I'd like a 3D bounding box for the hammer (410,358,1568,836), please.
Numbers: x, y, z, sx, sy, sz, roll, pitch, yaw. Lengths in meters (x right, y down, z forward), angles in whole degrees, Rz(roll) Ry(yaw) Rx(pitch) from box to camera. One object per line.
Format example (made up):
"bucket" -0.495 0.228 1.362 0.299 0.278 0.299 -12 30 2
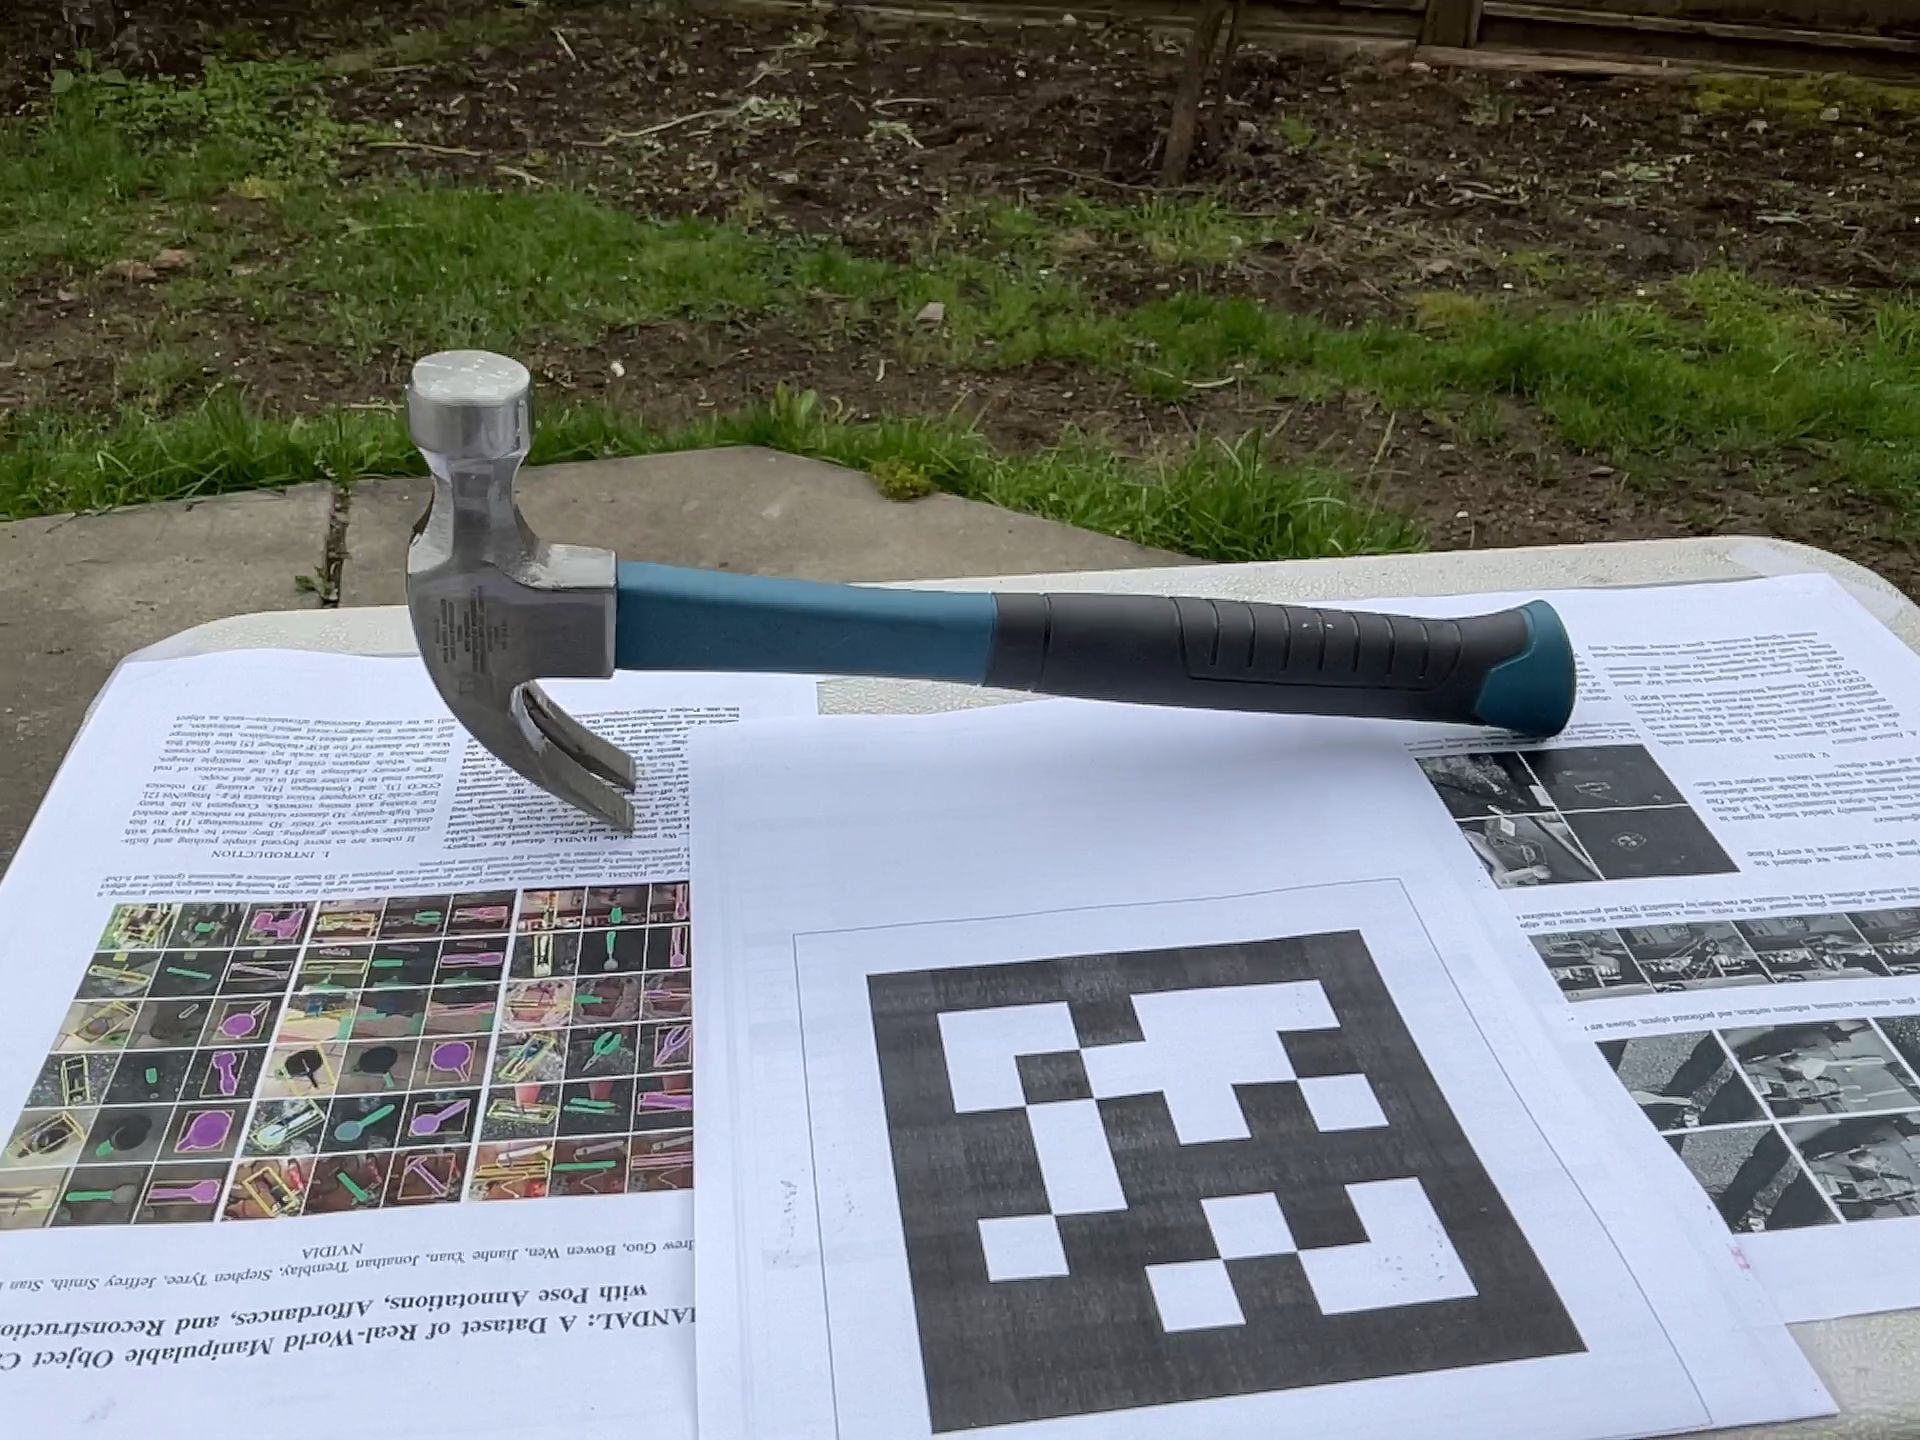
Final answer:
"hammer" 0.020 -0.022 0.448 0.331 0.128 0.033 3 36 -13
